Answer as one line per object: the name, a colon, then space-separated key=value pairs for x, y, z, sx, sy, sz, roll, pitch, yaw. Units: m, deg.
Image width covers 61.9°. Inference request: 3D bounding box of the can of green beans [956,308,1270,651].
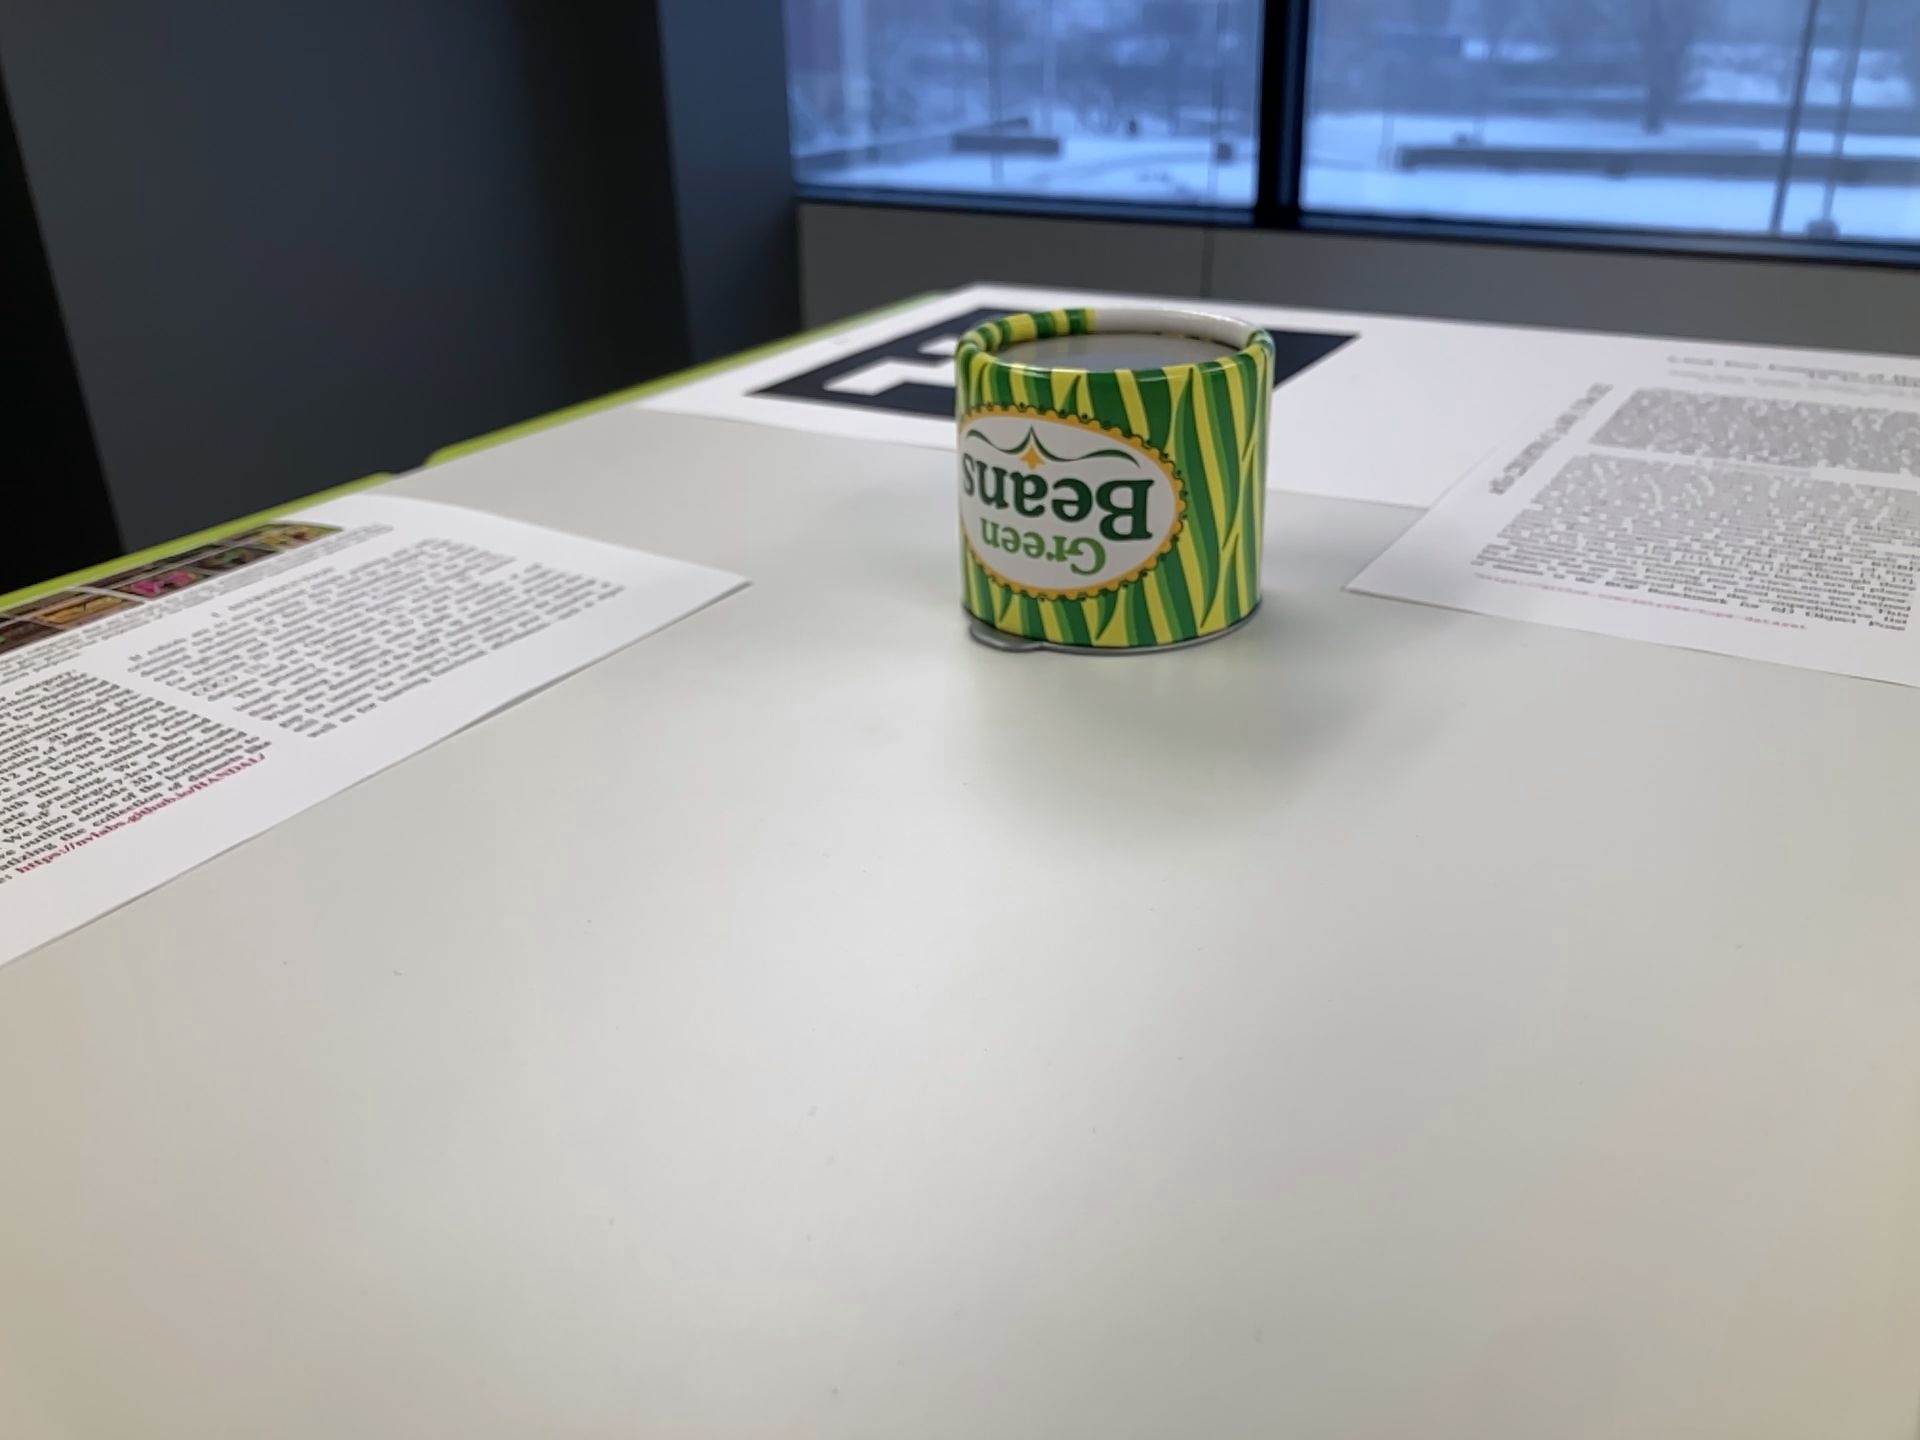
can of green beans: x=0.032 y=-0.054 z=0.344 sx=0.071 sy=0.058 sz=0.071 roll=-2 pitch=25 yaw=1
